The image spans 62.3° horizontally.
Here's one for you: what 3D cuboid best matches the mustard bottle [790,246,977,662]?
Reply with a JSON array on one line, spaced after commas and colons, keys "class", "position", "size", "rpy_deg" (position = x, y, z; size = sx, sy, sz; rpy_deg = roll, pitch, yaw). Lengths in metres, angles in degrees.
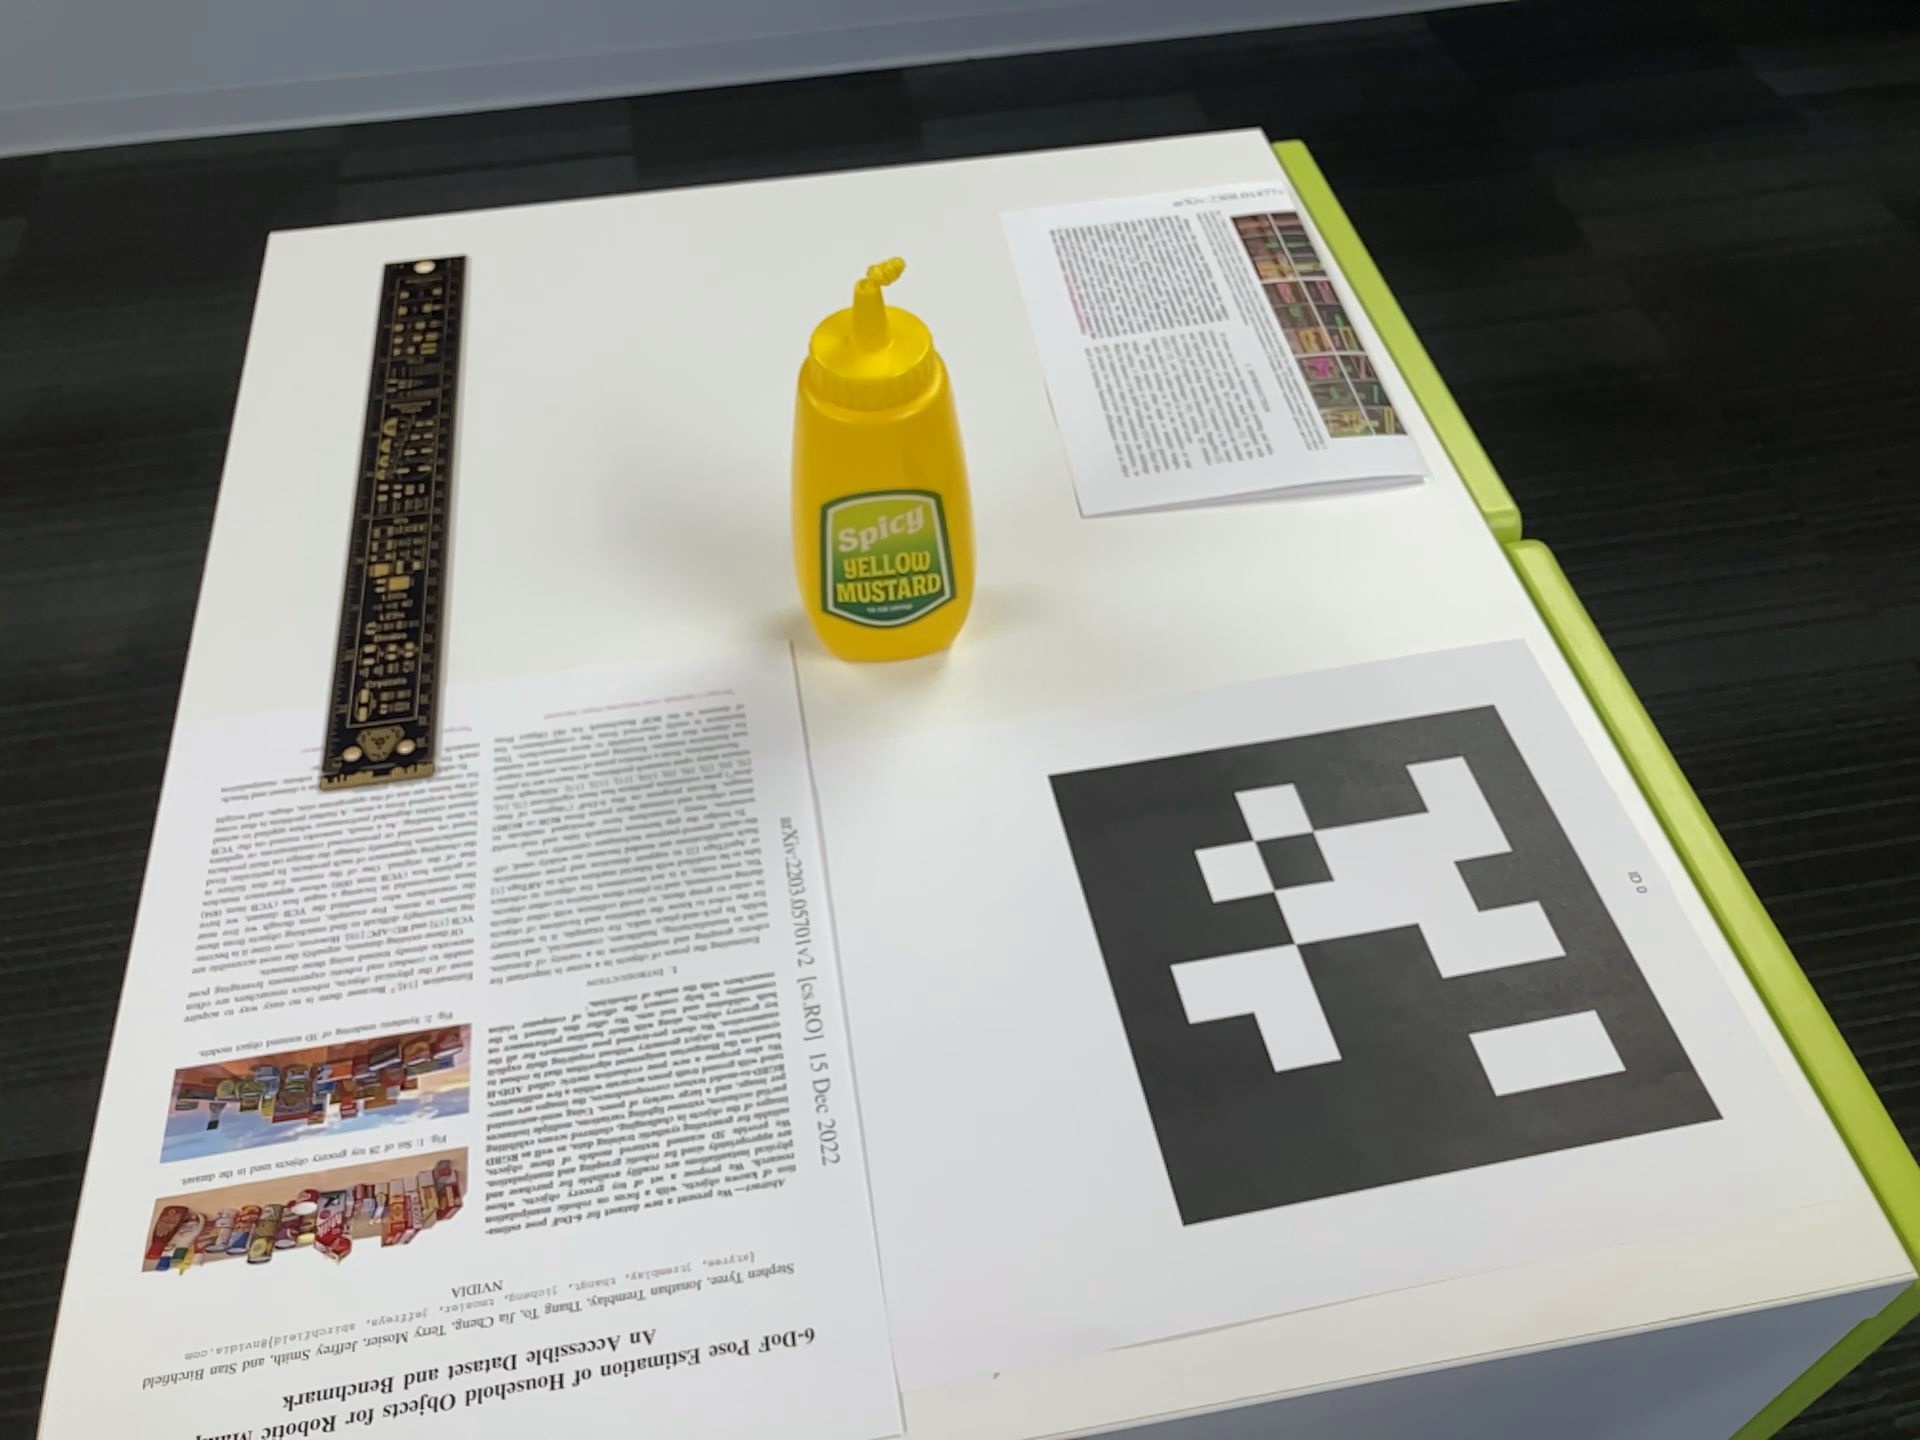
[{"class": "mustard bottle", "position": [-0.028, -0.087, 0.534], "size": [0.065, 0.160, 0.049], "rpy_deg": [-6, 51, -3]}]
